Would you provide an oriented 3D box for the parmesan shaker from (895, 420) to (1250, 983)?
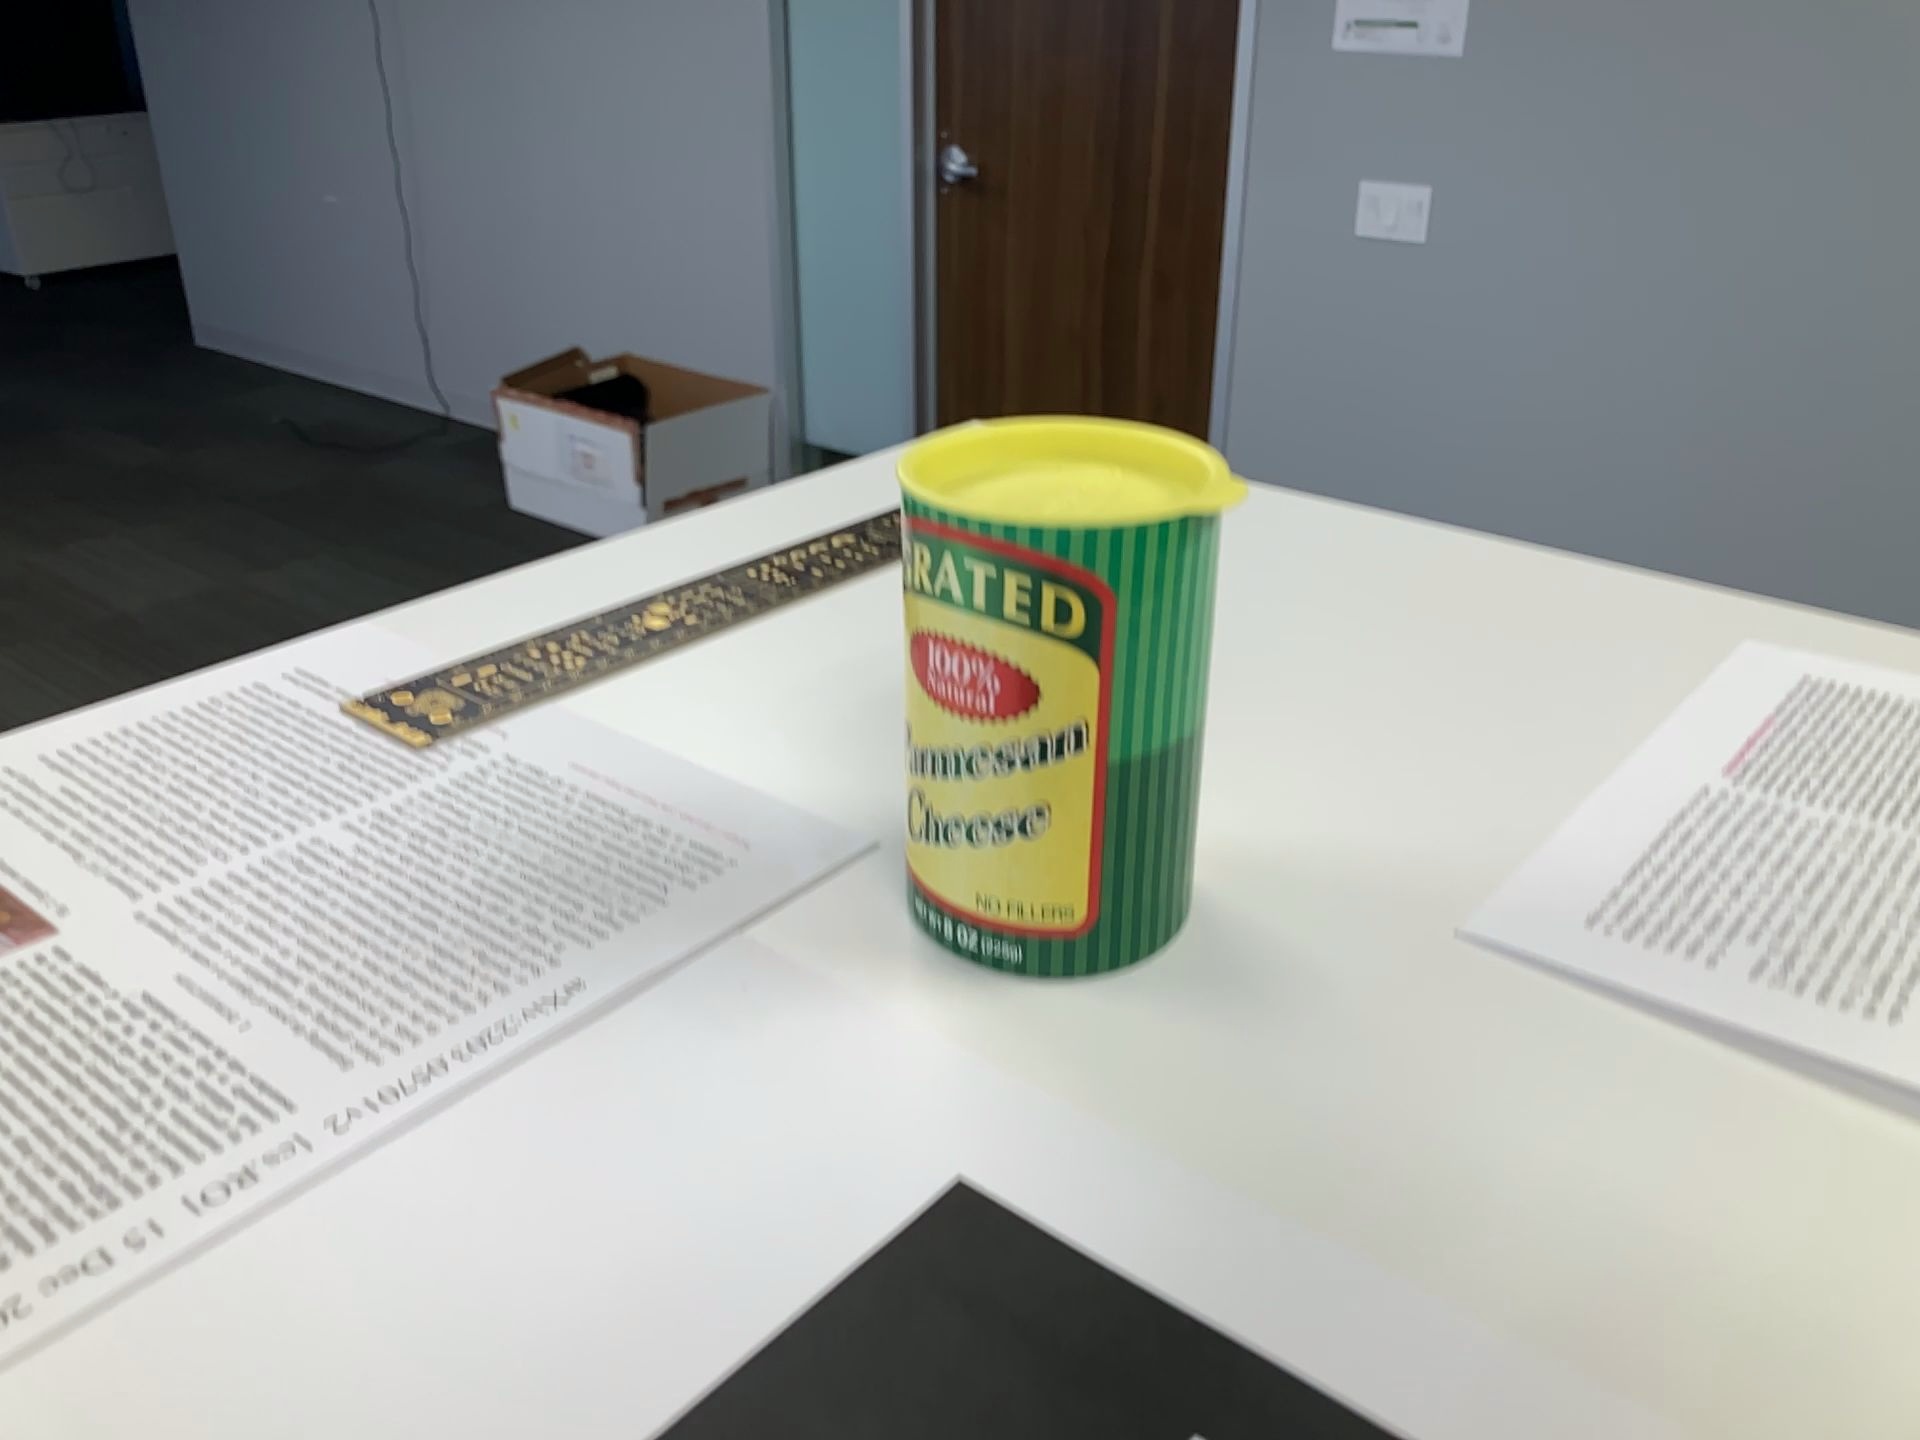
[{"bbox_3d":[0.022,-0.004,0.334,0.071,0.103,0.071,0,25,0],"label":"parmesan shaker"}]
